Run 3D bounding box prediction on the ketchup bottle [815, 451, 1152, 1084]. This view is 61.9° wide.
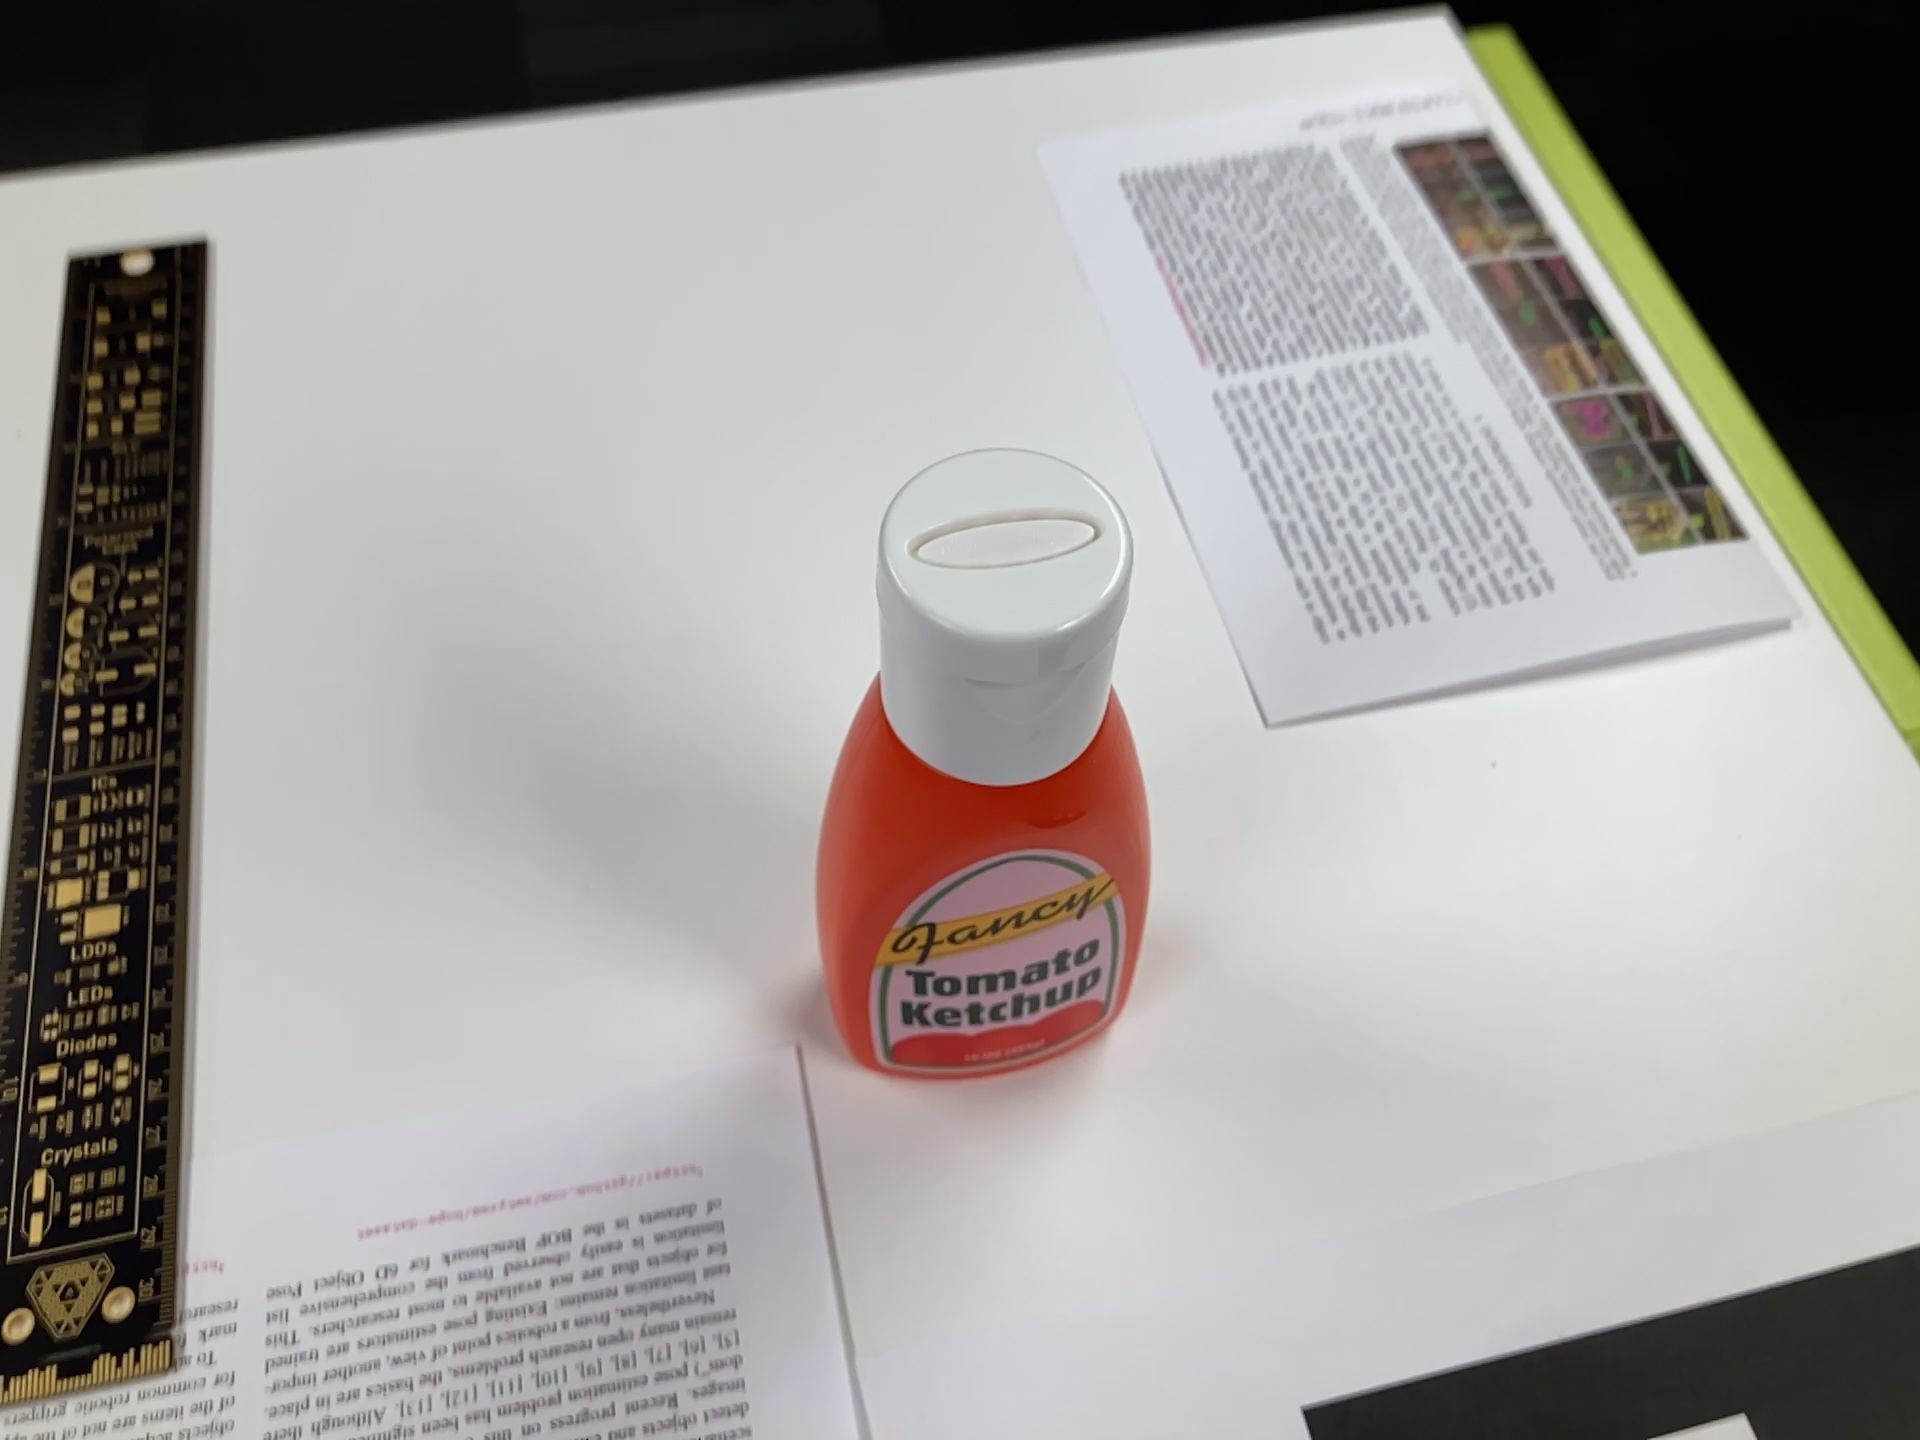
[{"bbox_3d":[0.005,0.016,0.284,0.065,0.149,0.043,-9,56,-7],"label":"ketchup bottle"}]
